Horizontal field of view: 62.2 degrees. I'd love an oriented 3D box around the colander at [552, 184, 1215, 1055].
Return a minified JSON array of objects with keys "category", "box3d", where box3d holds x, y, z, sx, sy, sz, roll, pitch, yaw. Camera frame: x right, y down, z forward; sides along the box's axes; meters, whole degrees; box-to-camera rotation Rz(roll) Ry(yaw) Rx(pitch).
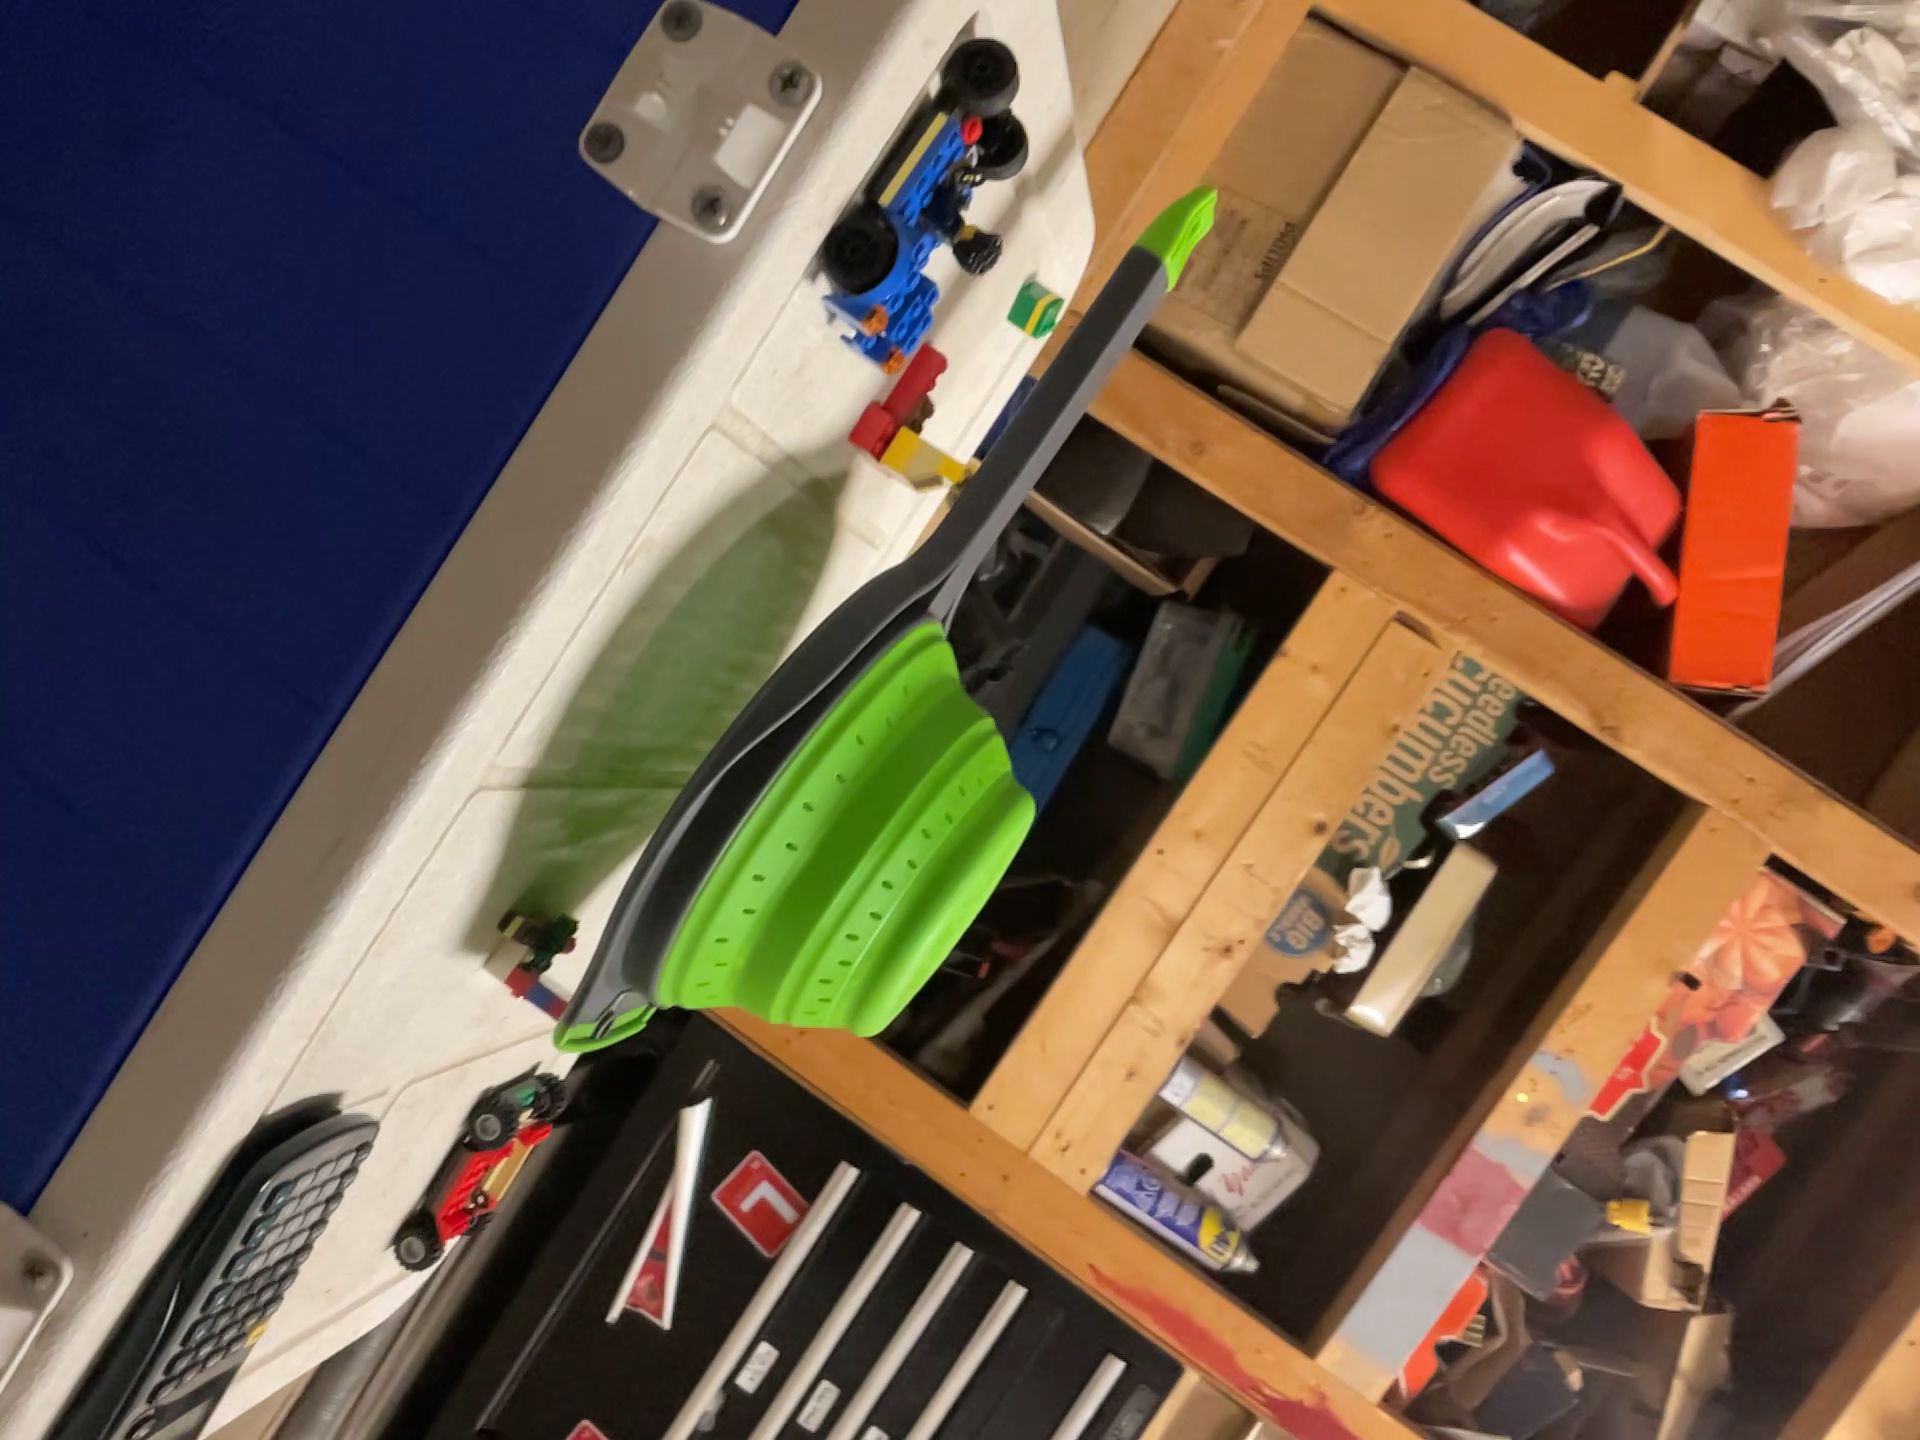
[{"category":"colander","box3d":[0.009,-0.019,0.597,0.397,0.094,0.204,-55,173,-2]}]
